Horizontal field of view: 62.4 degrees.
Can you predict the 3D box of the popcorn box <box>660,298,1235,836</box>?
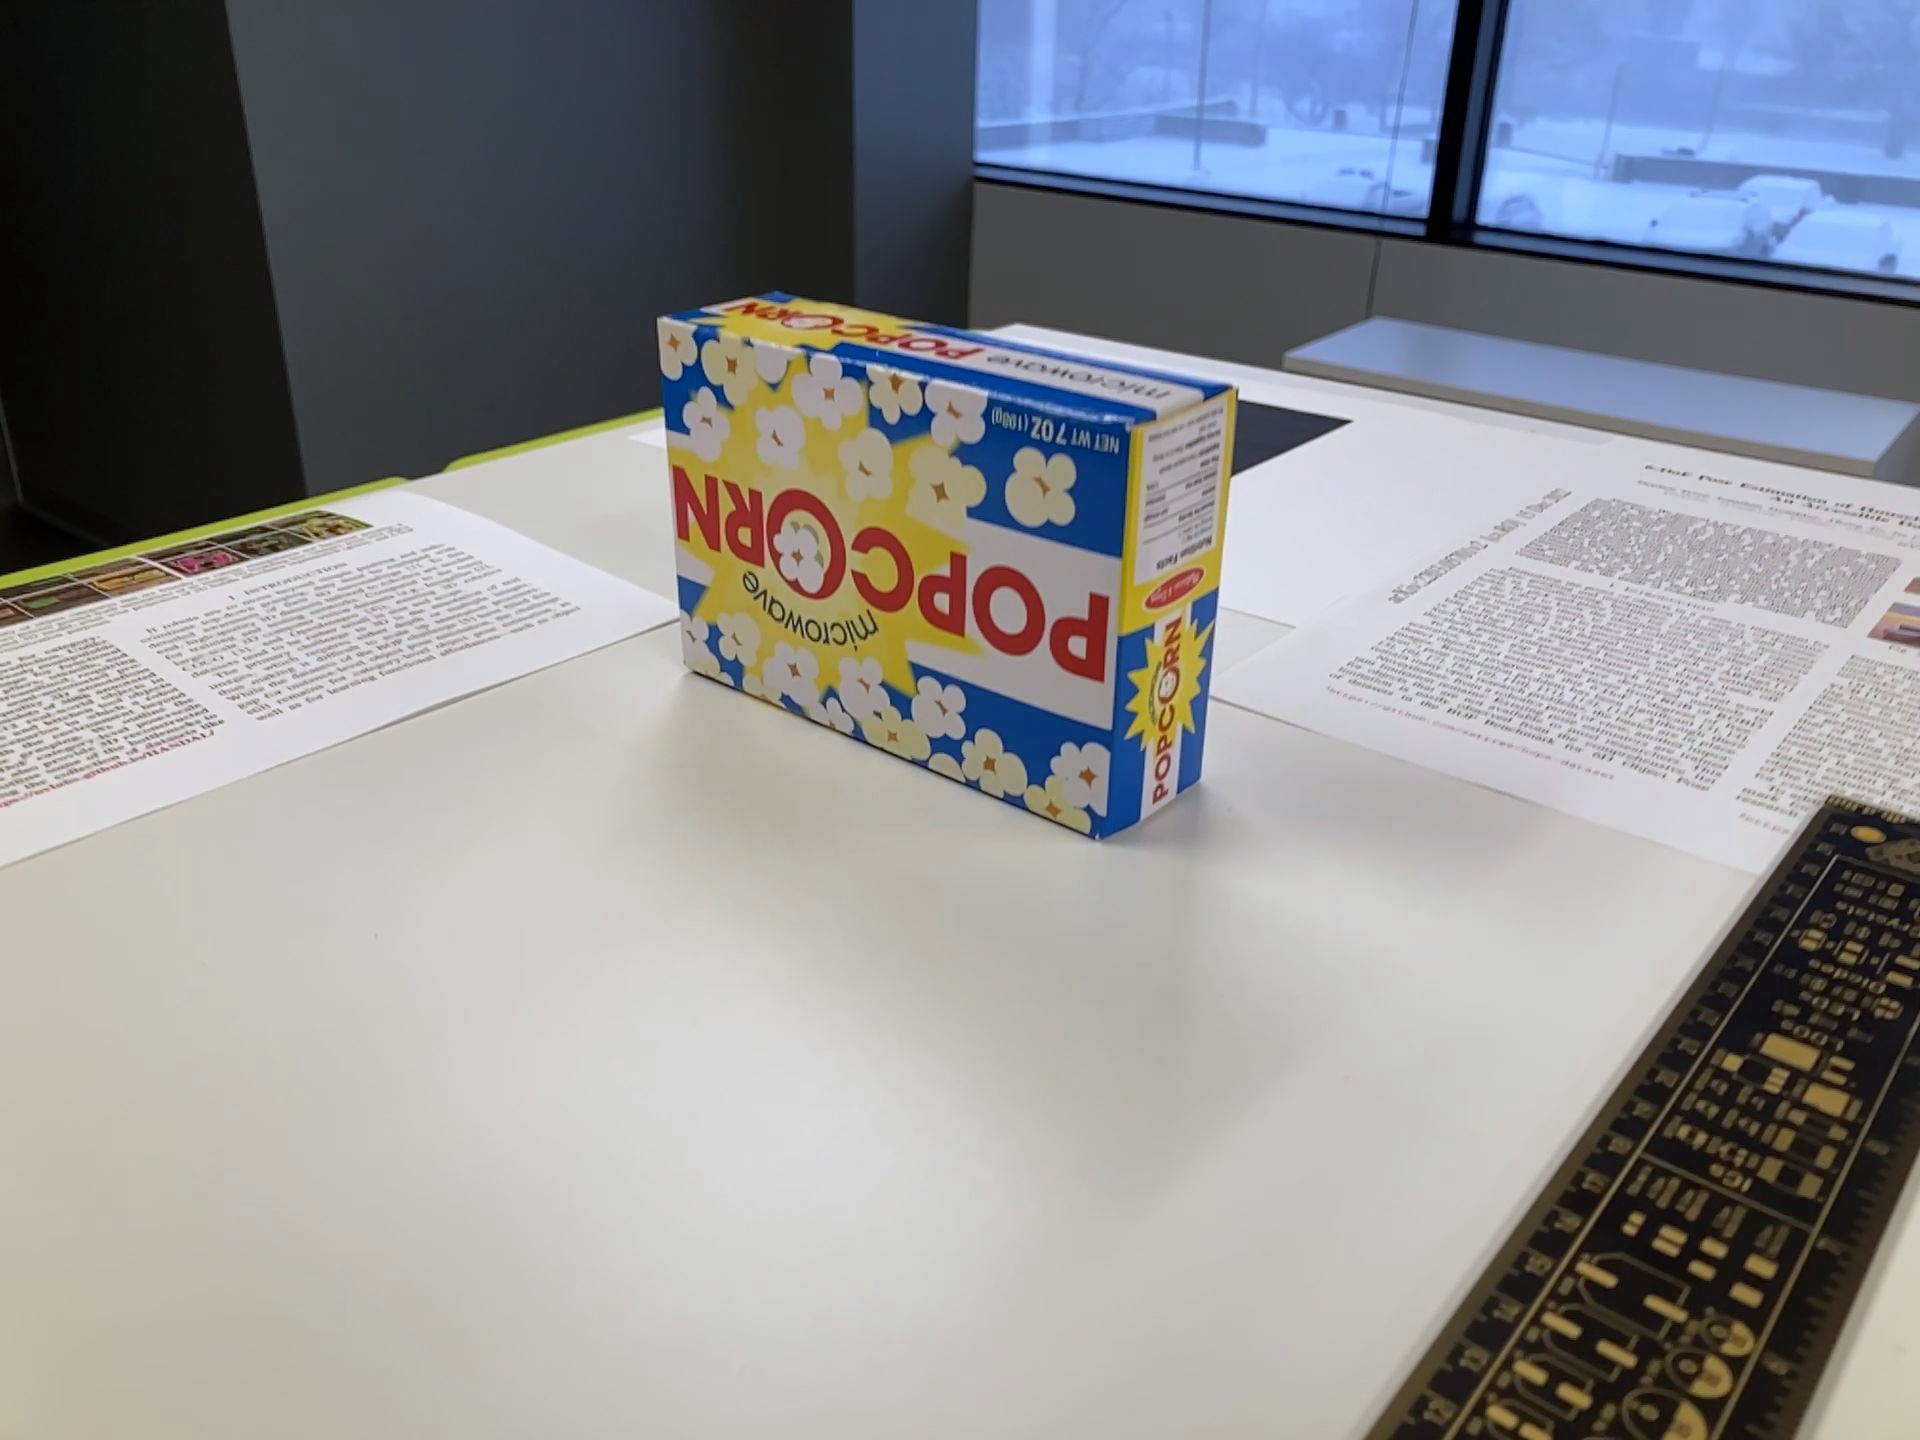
[{"bbox_3d":[-0.007,-0.038,0.339,0.126,0.085,0.038,20,32,35],"label":"popcorn box"}]
